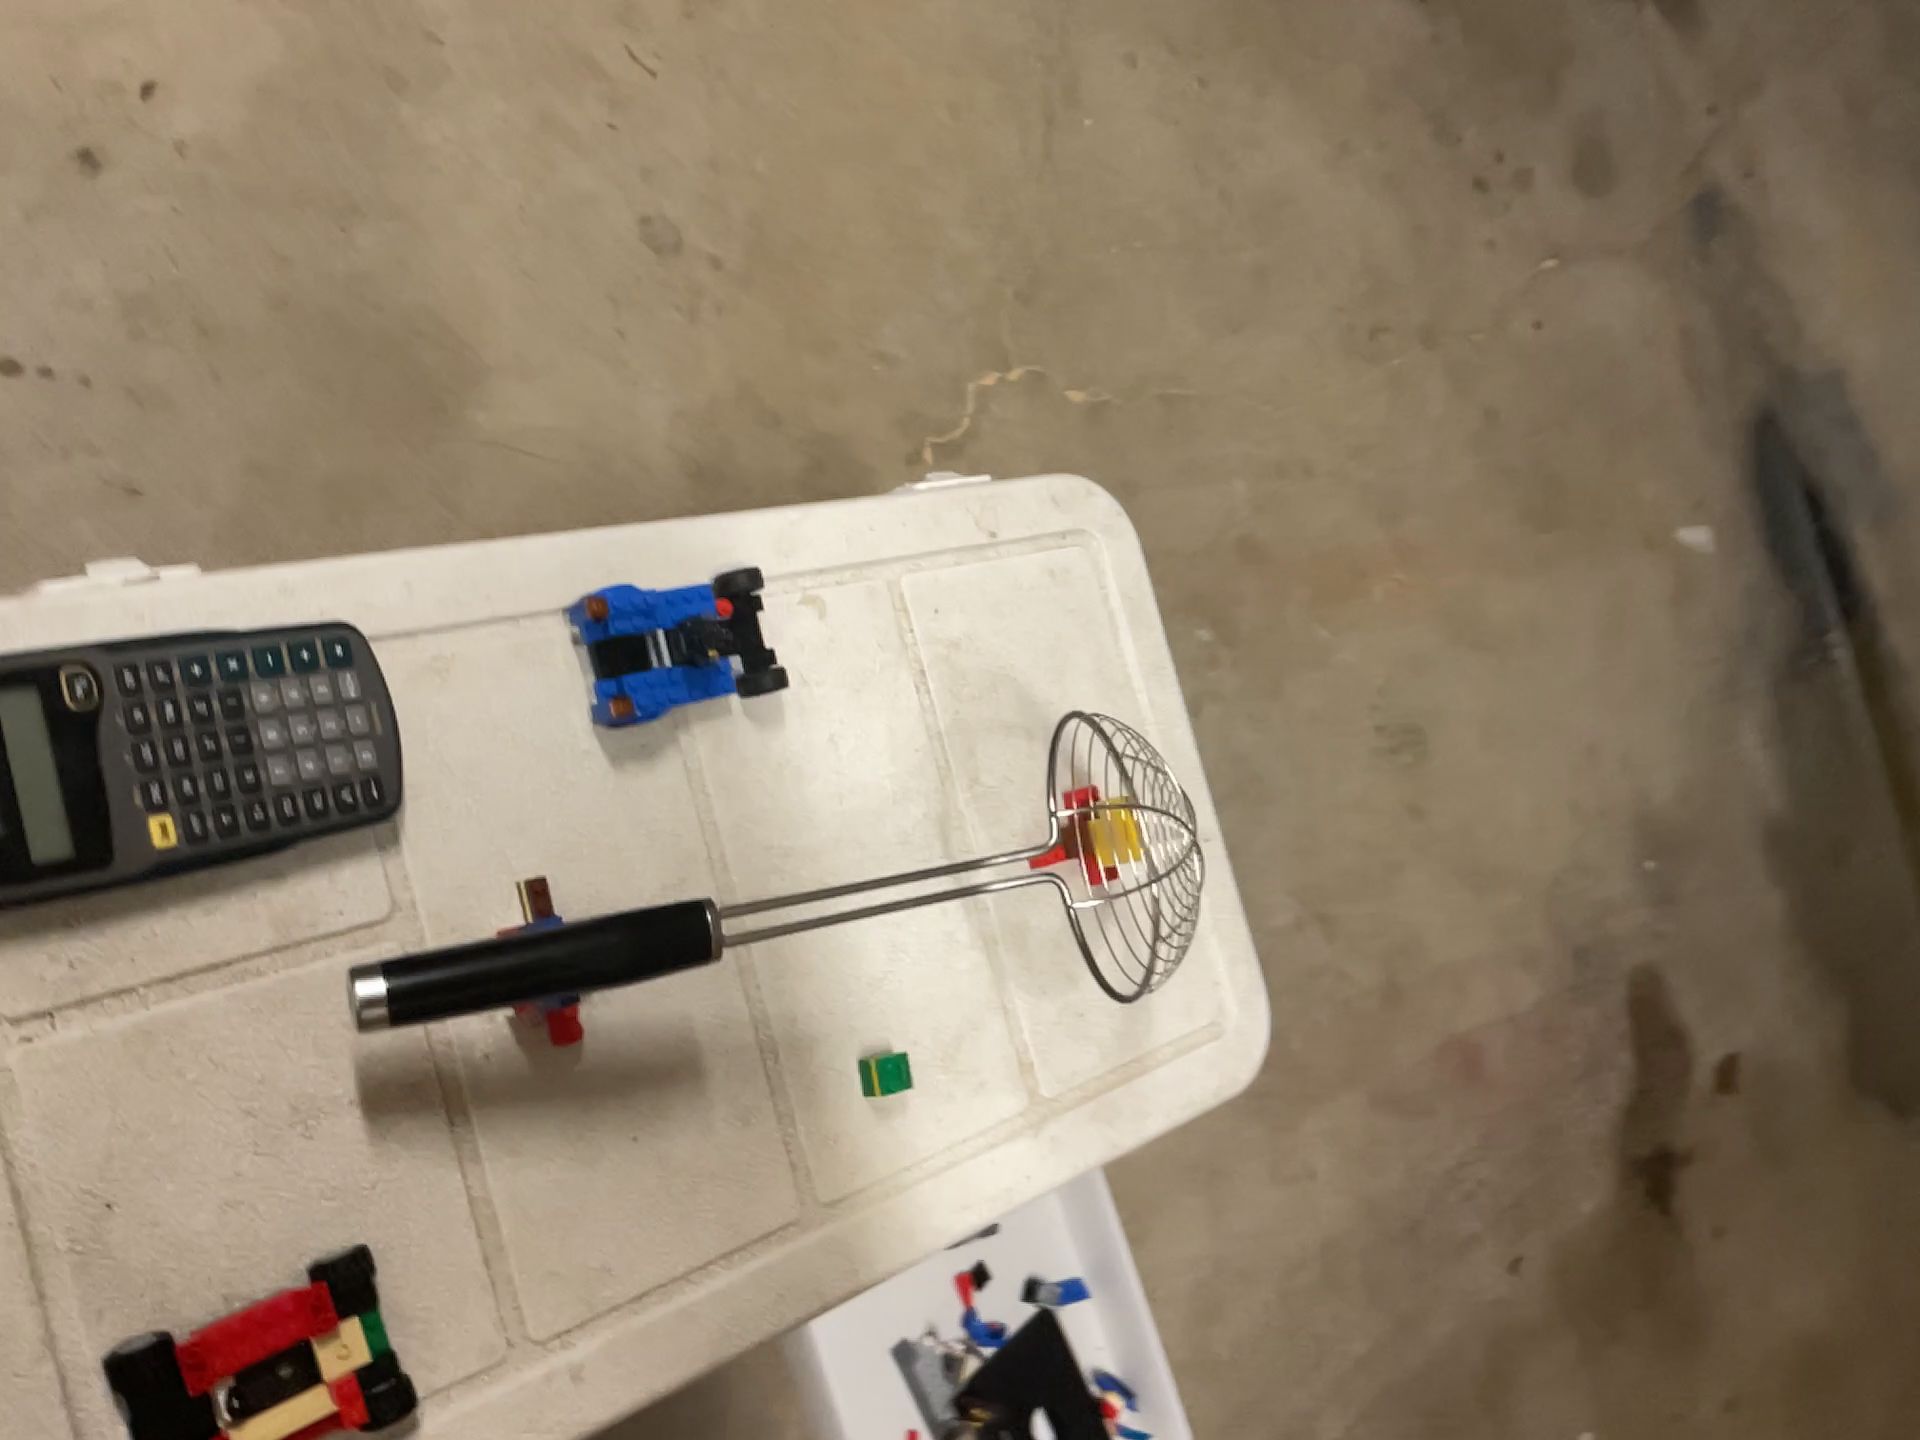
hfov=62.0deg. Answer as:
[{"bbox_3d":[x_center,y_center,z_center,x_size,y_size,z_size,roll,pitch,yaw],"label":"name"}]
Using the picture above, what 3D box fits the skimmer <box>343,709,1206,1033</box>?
[{"bbox_3d":[-0.050,0.073,0.622,0.363,0.090,0.127,-8,84,-28],"label":"skimmer"}]
